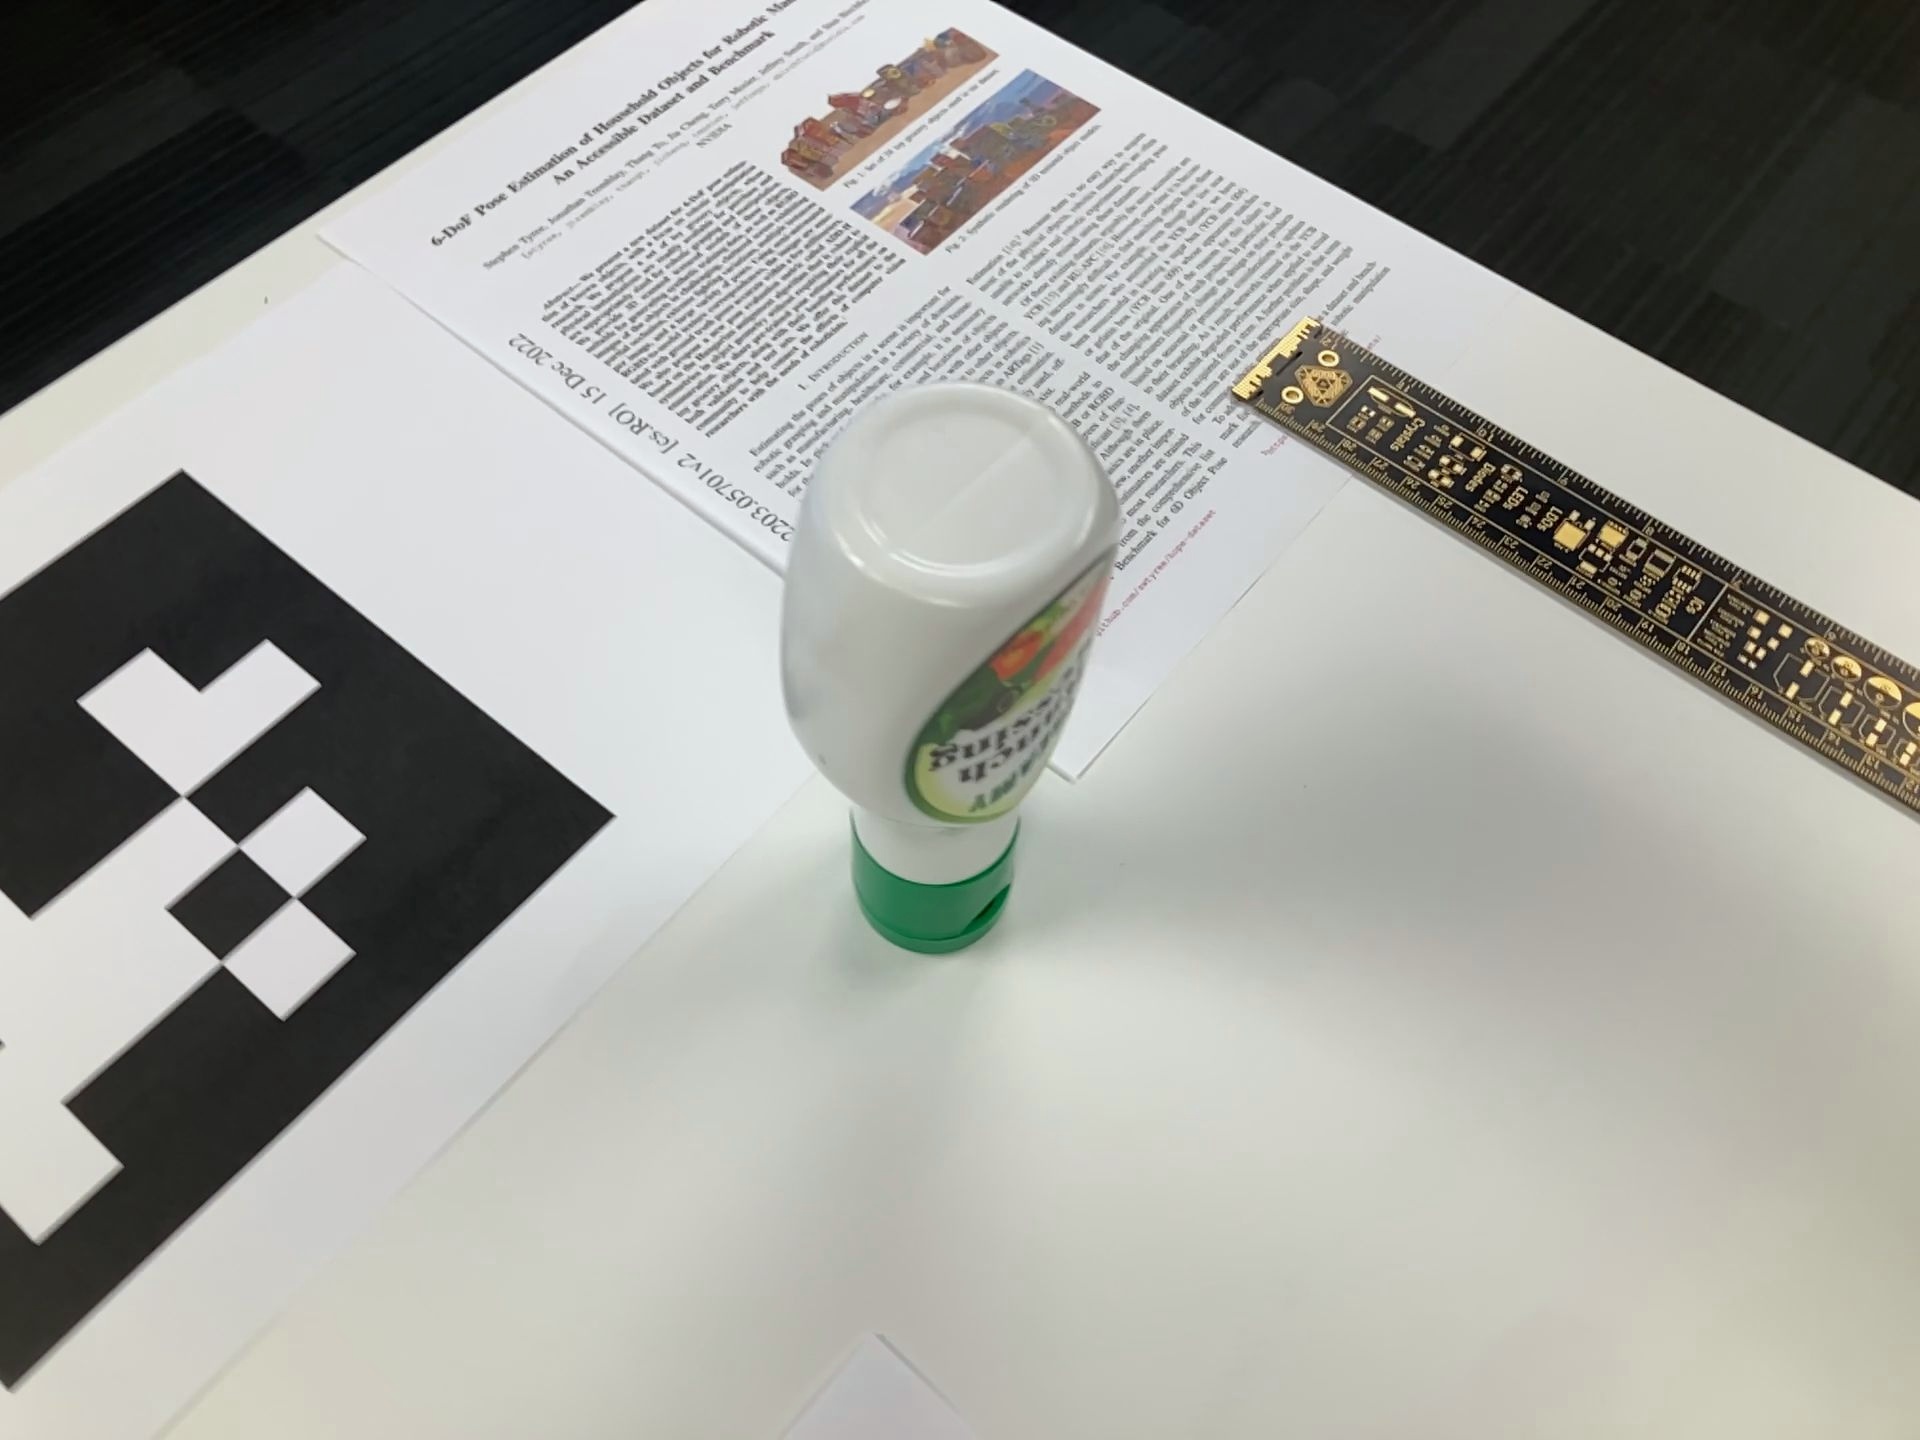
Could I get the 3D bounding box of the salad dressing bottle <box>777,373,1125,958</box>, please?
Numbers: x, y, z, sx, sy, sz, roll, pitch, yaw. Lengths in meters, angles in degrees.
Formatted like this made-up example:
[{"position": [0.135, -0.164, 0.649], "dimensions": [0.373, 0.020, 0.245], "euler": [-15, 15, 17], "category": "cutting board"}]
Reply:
[{"position": [-0.003, 0.000, 0.301], "dimensions": [0.044, 0.147, 0.064], "euler": [38, 65, 18], "category": "salad dressing bottle"}]
